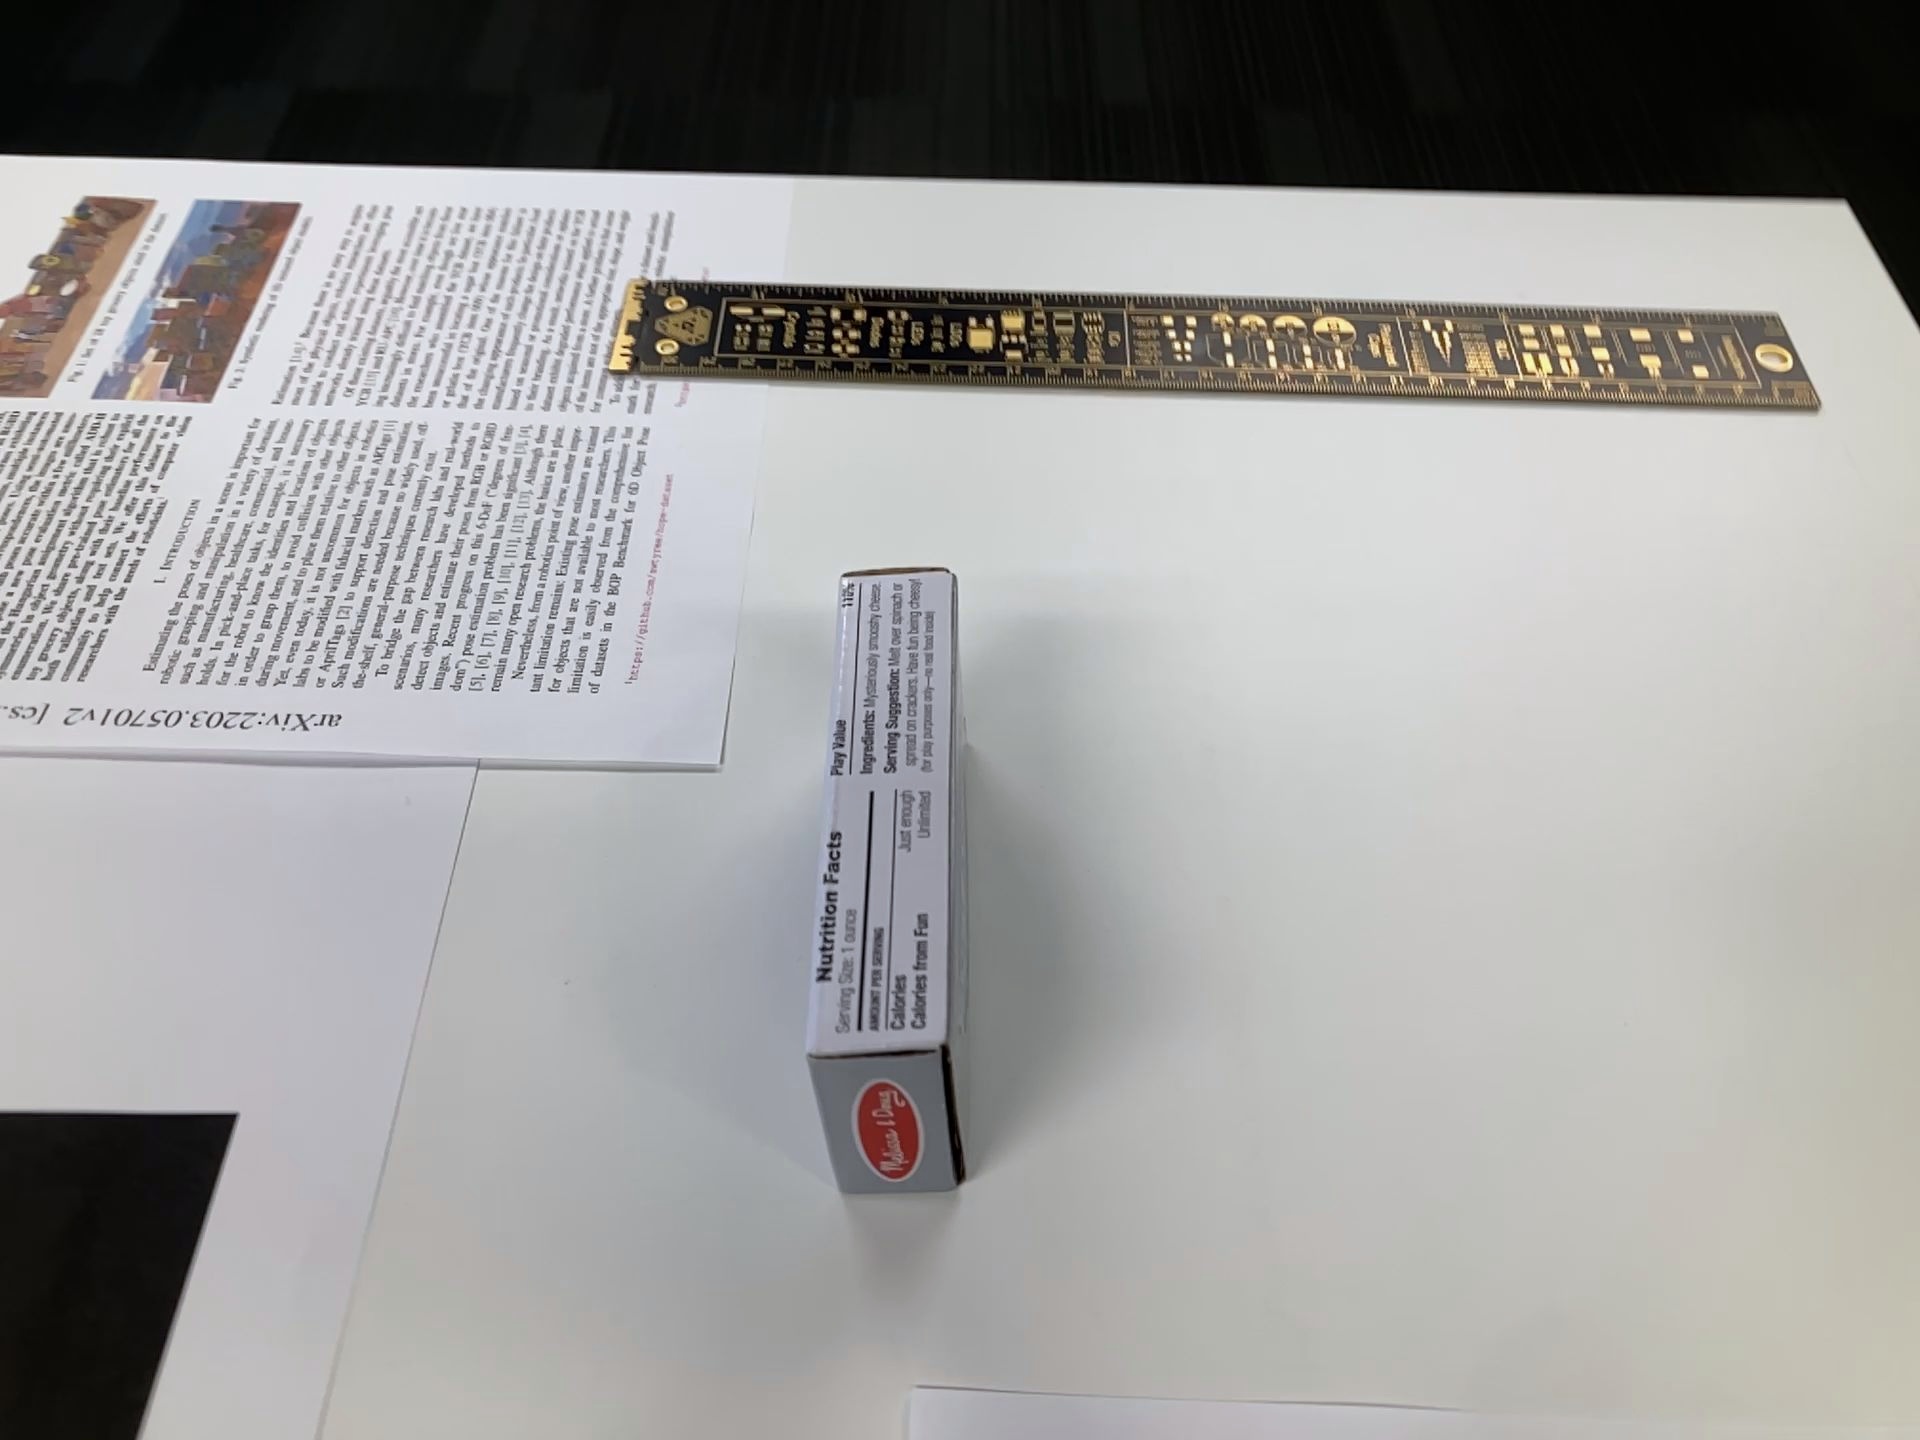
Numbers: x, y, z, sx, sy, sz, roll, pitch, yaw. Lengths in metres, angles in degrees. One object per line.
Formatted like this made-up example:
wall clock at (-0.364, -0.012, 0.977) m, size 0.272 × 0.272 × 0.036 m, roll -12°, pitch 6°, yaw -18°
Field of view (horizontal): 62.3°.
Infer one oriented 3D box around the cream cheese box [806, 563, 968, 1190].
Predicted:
cream cheese box at (-0.011, 0.026, 0.291) m, size 0.024 × 0.053 × 0.104 m, roll -1°, pitch 51°, yaw 1°
